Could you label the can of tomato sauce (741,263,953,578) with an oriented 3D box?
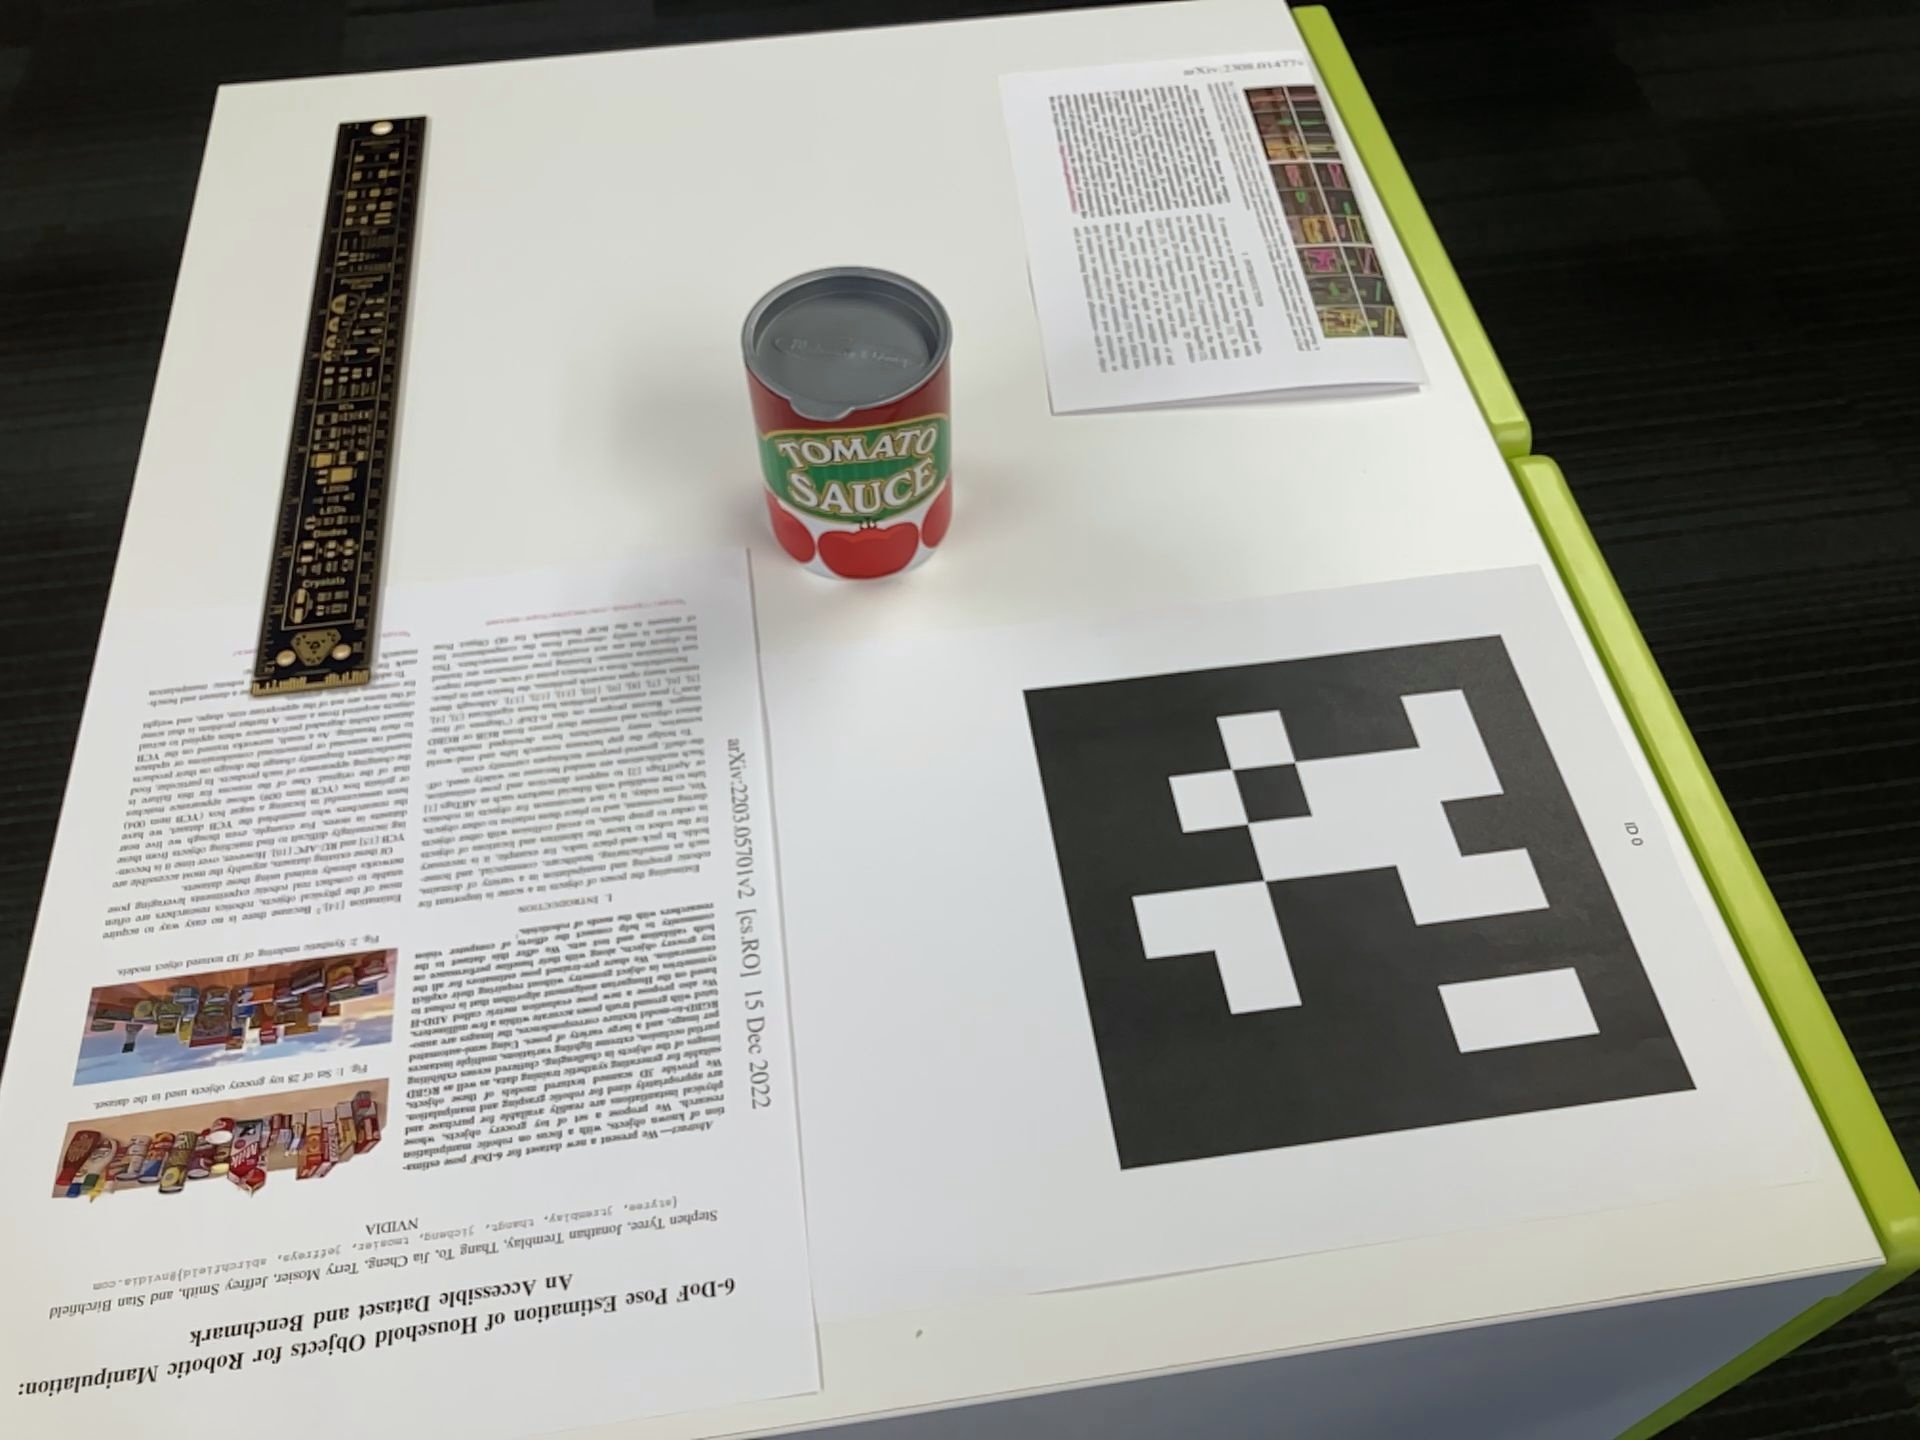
[{"bbox_3d":[-0.035,-0.097,0.533,0.071,0.083,0.071,0,54,1],"label":"can of tomato sauce"}]
